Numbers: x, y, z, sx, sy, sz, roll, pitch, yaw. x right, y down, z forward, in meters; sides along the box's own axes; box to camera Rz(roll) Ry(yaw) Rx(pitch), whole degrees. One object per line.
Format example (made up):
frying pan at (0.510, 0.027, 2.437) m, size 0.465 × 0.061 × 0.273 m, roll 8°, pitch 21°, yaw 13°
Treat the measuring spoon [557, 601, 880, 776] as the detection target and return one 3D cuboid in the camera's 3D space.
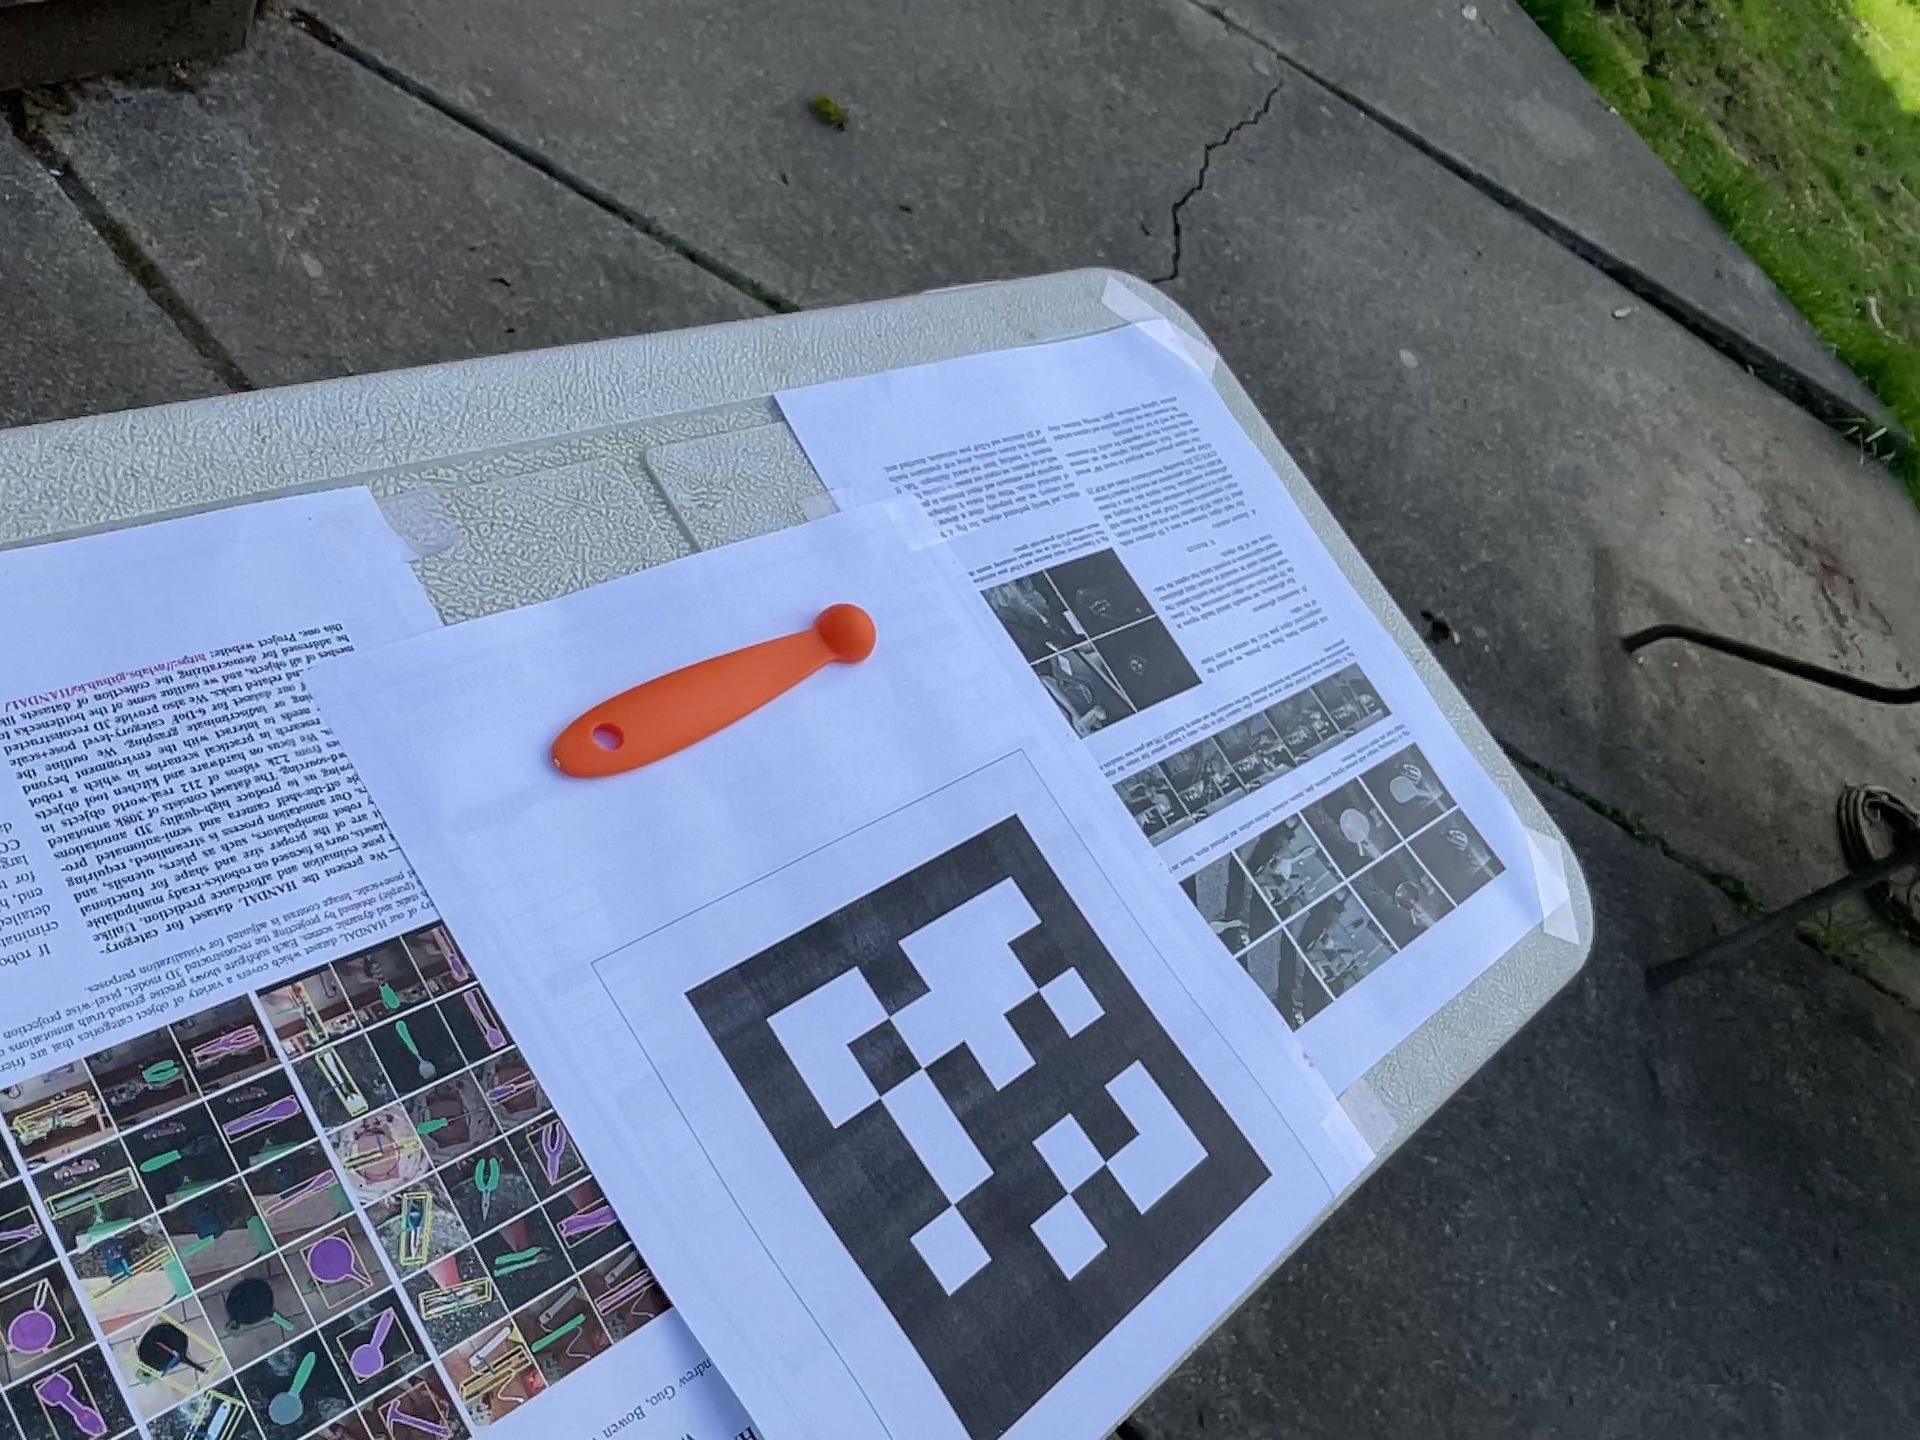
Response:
measuring spoon at (-0.063, -0.011, 0.447) m, size 0.117 × 0.011 × 0.021 m, roll -29°, pitch 75°, yaw -44°
